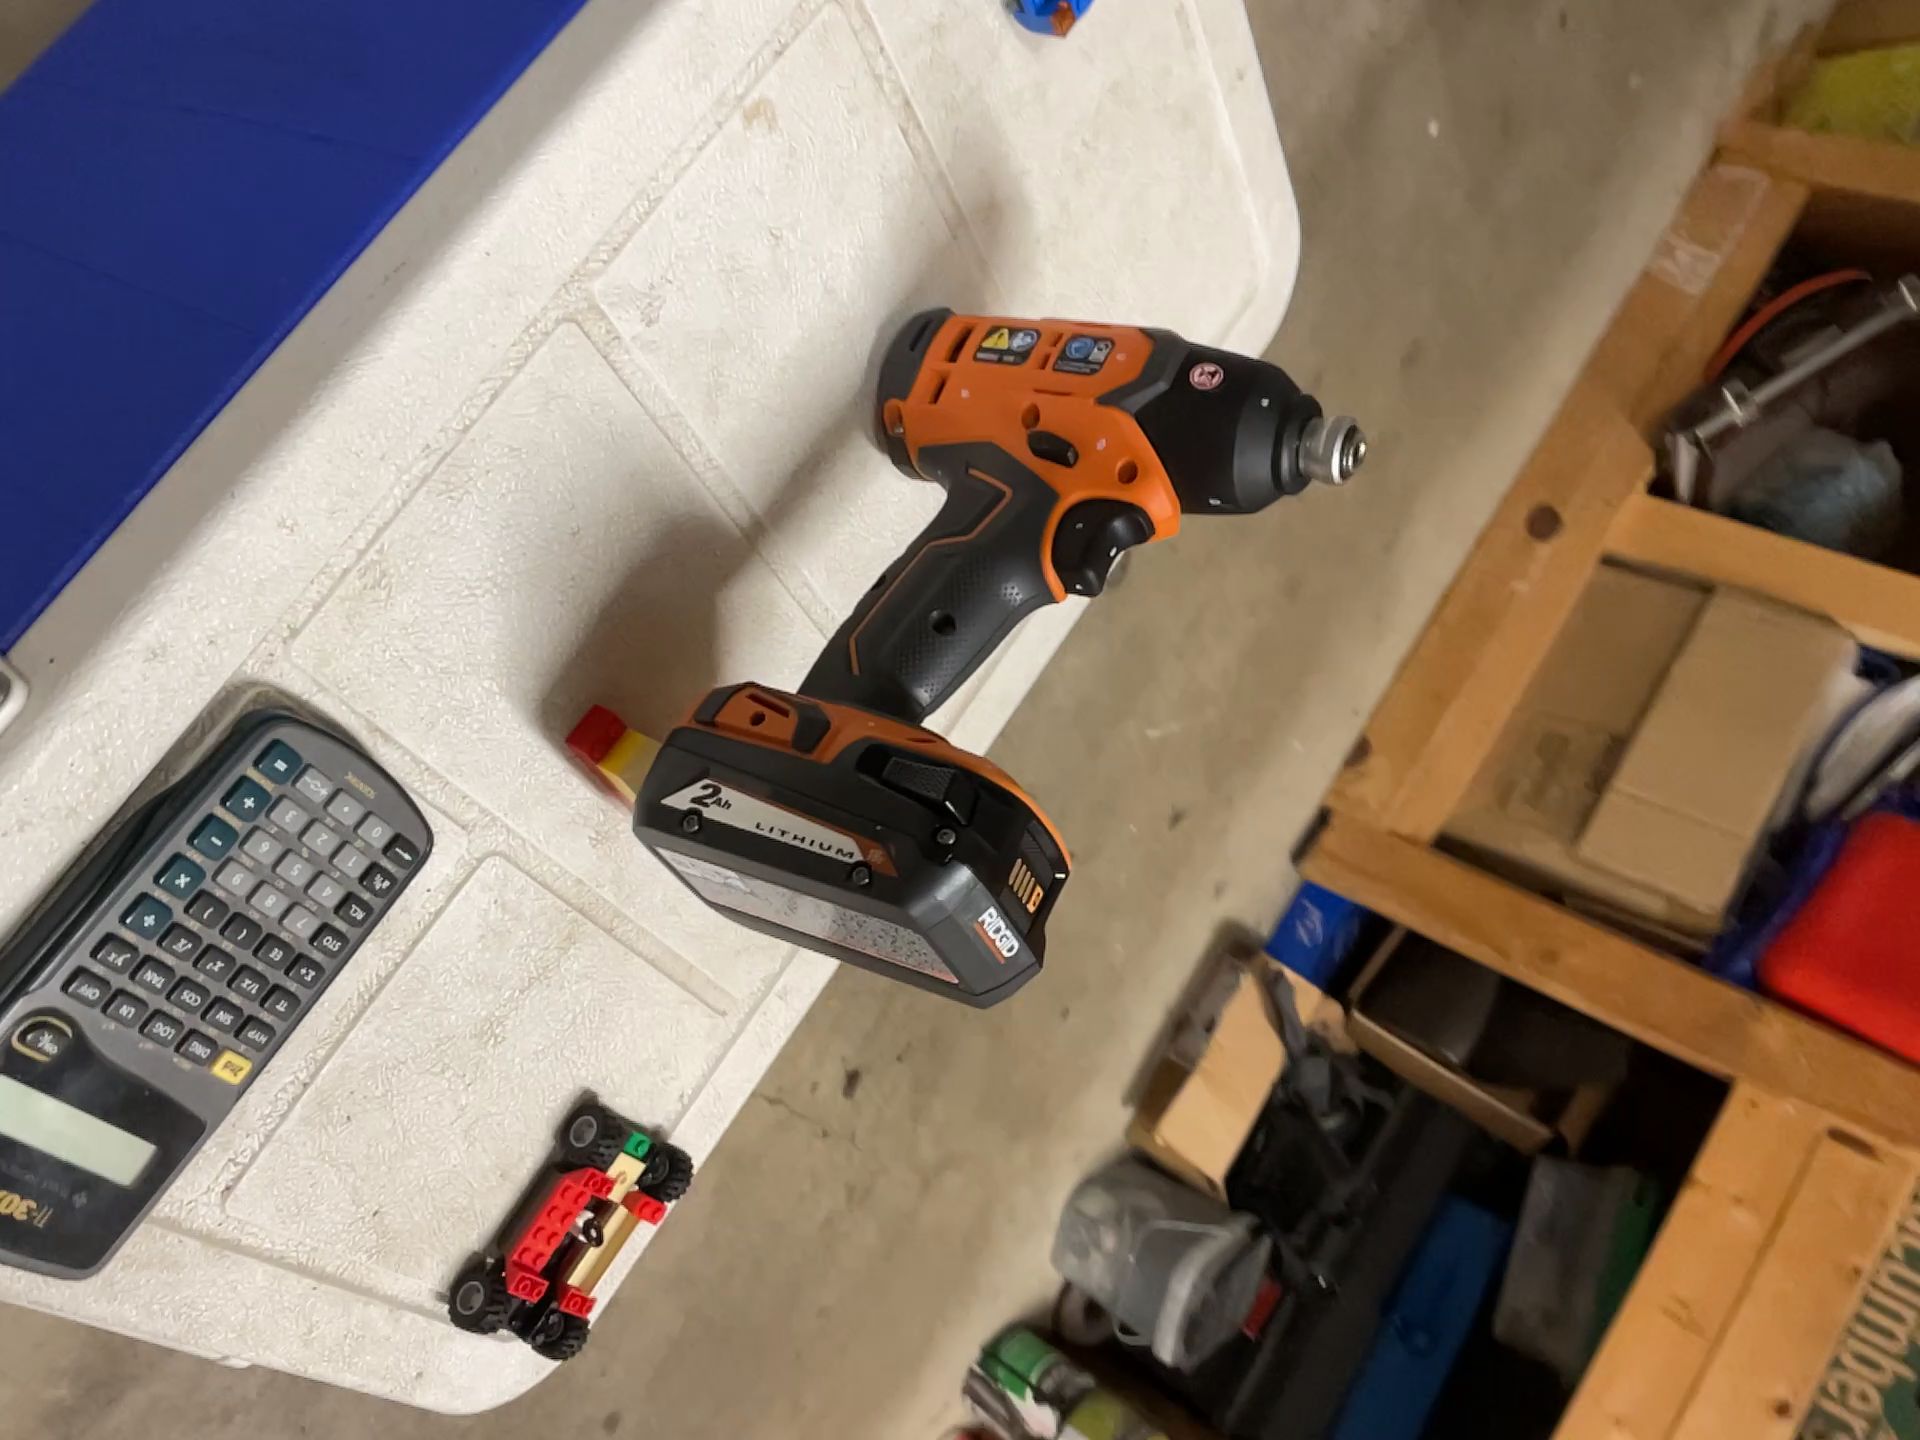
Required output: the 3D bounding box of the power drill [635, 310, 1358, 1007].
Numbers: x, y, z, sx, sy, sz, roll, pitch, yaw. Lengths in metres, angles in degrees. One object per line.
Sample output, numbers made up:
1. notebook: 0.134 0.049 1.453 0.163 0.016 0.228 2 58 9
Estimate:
1. power drill: 0.017 -0.033 0.499 0.227 0.164 0.084 -63 147 -23
